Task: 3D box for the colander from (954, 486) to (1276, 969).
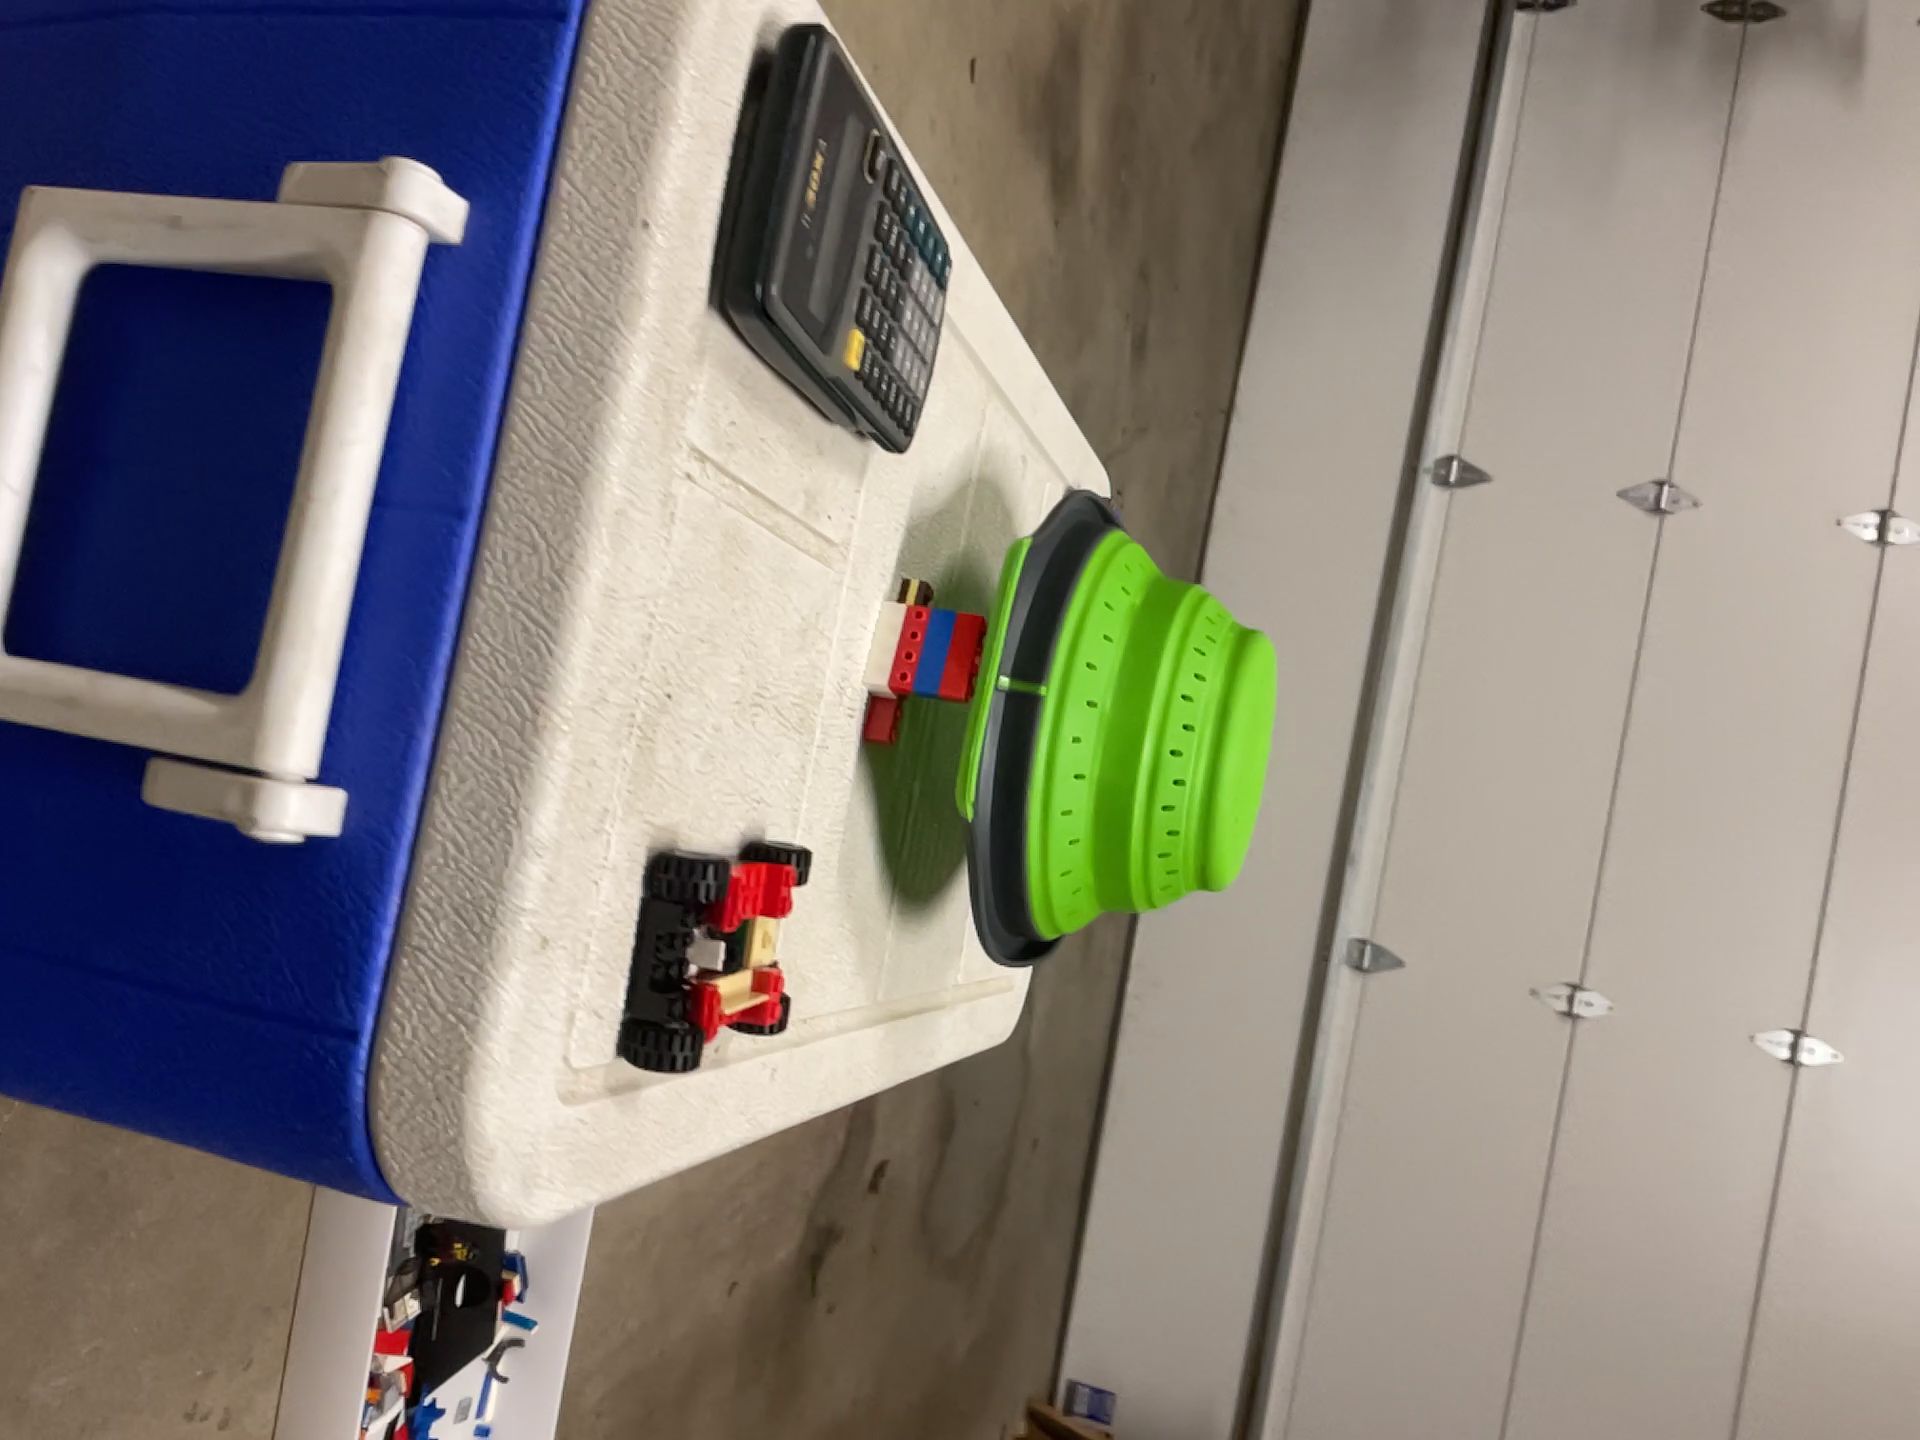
[{"bbox_3d":[0.096,0.026,0.740,0.396,0.094,0.204,38,63,-72],"label":"colander"}]
